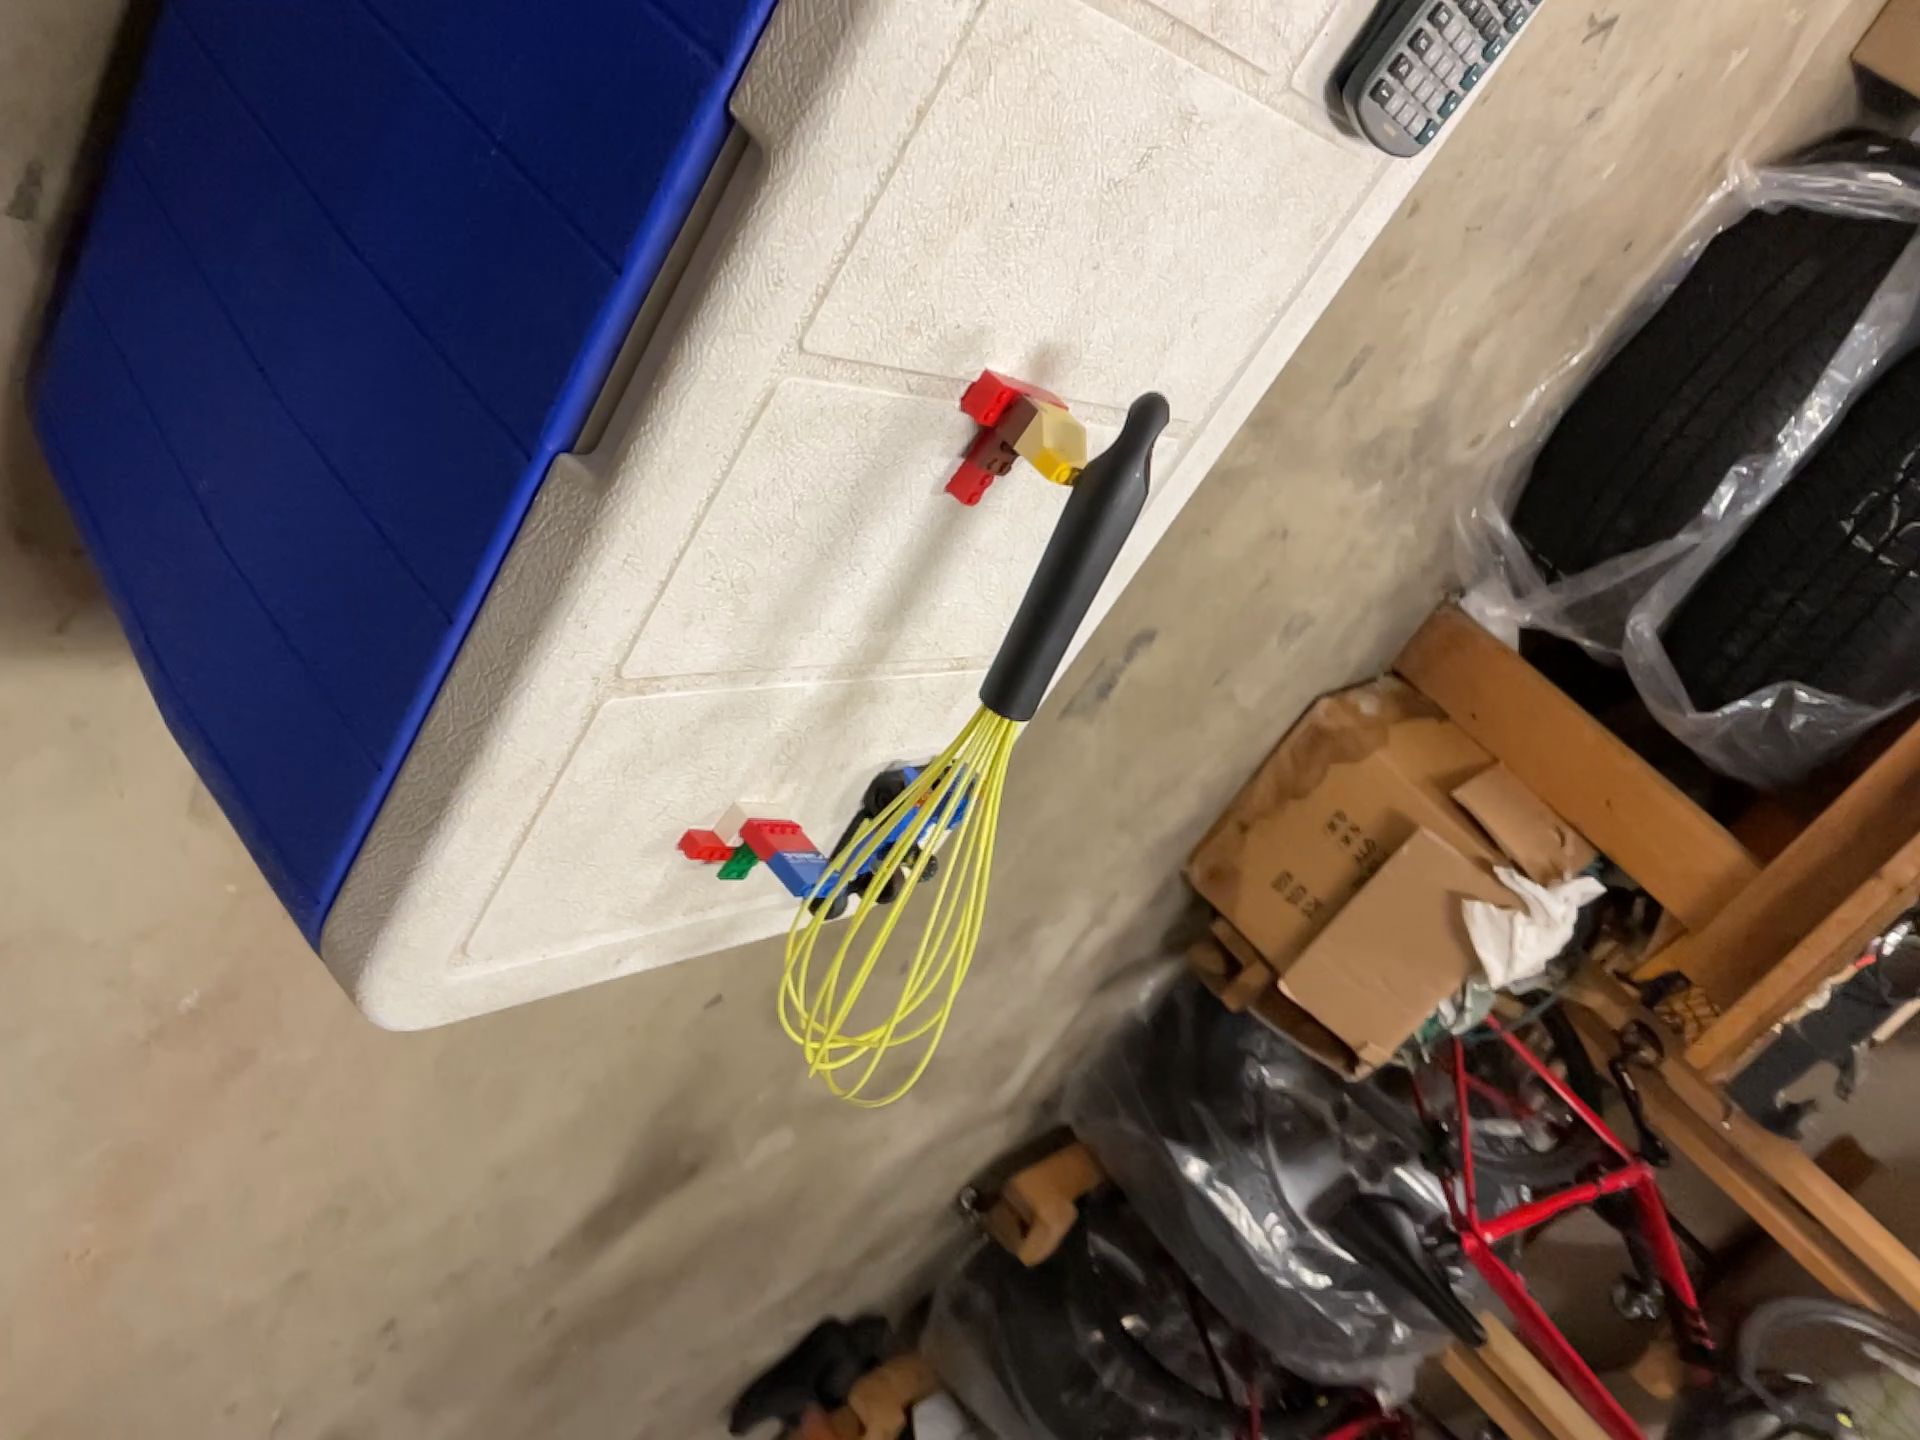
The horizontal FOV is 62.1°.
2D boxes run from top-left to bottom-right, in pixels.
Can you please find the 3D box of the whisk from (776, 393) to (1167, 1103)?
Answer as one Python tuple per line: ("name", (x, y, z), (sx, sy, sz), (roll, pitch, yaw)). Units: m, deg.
("whisk", (0.002, 0.018, 0.598), (0.080, 0.067, 0.311), (-100, -147, -62))
